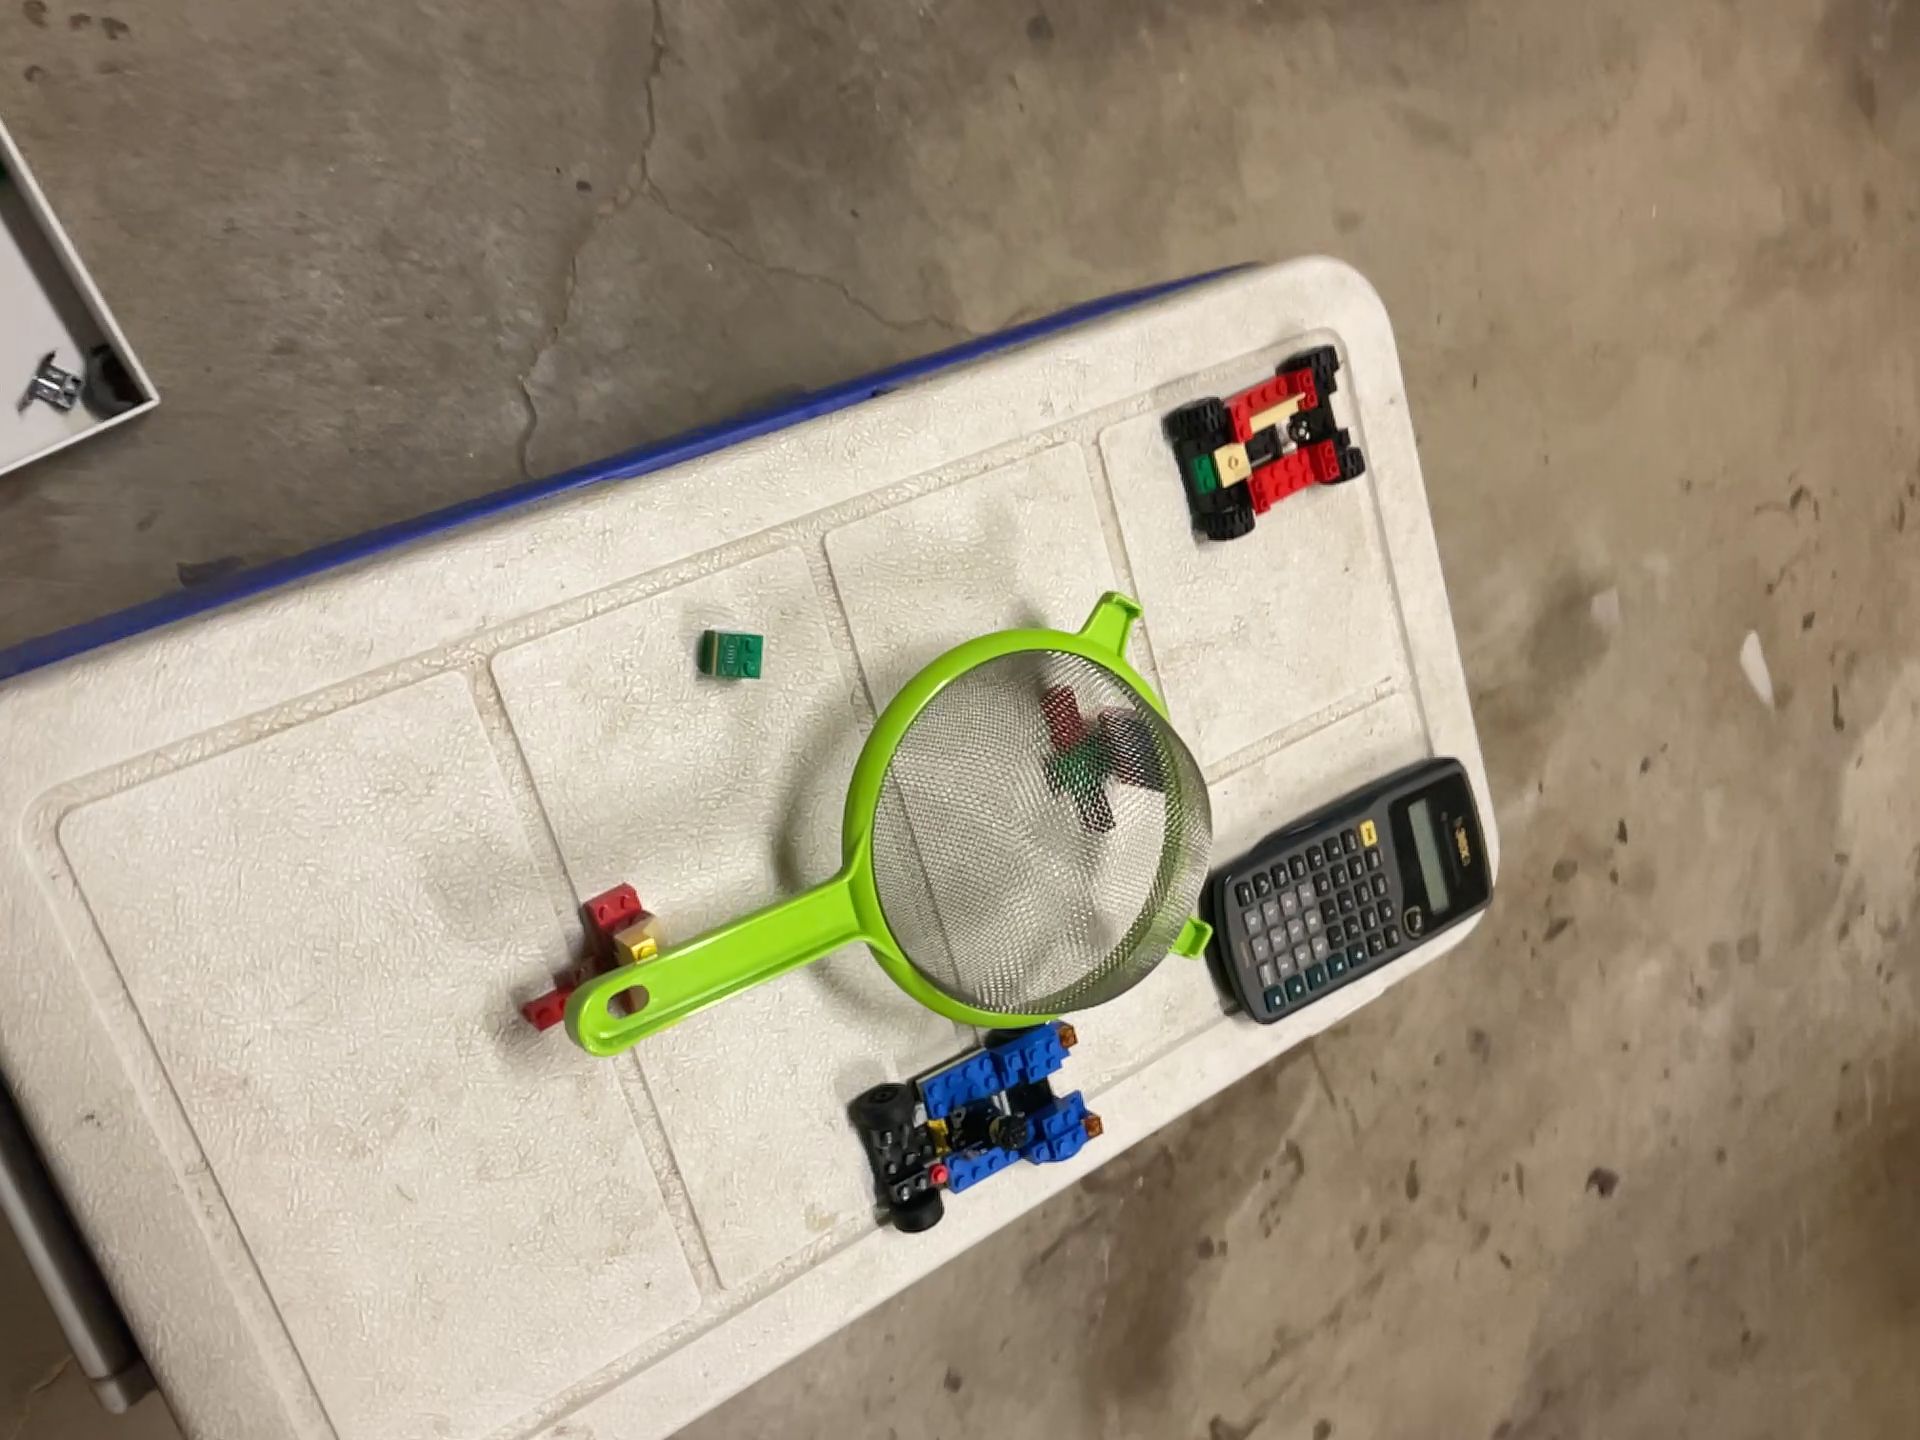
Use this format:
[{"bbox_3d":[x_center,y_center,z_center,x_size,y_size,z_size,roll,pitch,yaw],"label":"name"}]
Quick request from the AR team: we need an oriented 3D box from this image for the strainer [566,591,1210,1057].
[{"bbox_3d":[-0.006,0.061,0.550,0.256,0.069,0.151,-21,107,-28],"label":"strainer"}]
